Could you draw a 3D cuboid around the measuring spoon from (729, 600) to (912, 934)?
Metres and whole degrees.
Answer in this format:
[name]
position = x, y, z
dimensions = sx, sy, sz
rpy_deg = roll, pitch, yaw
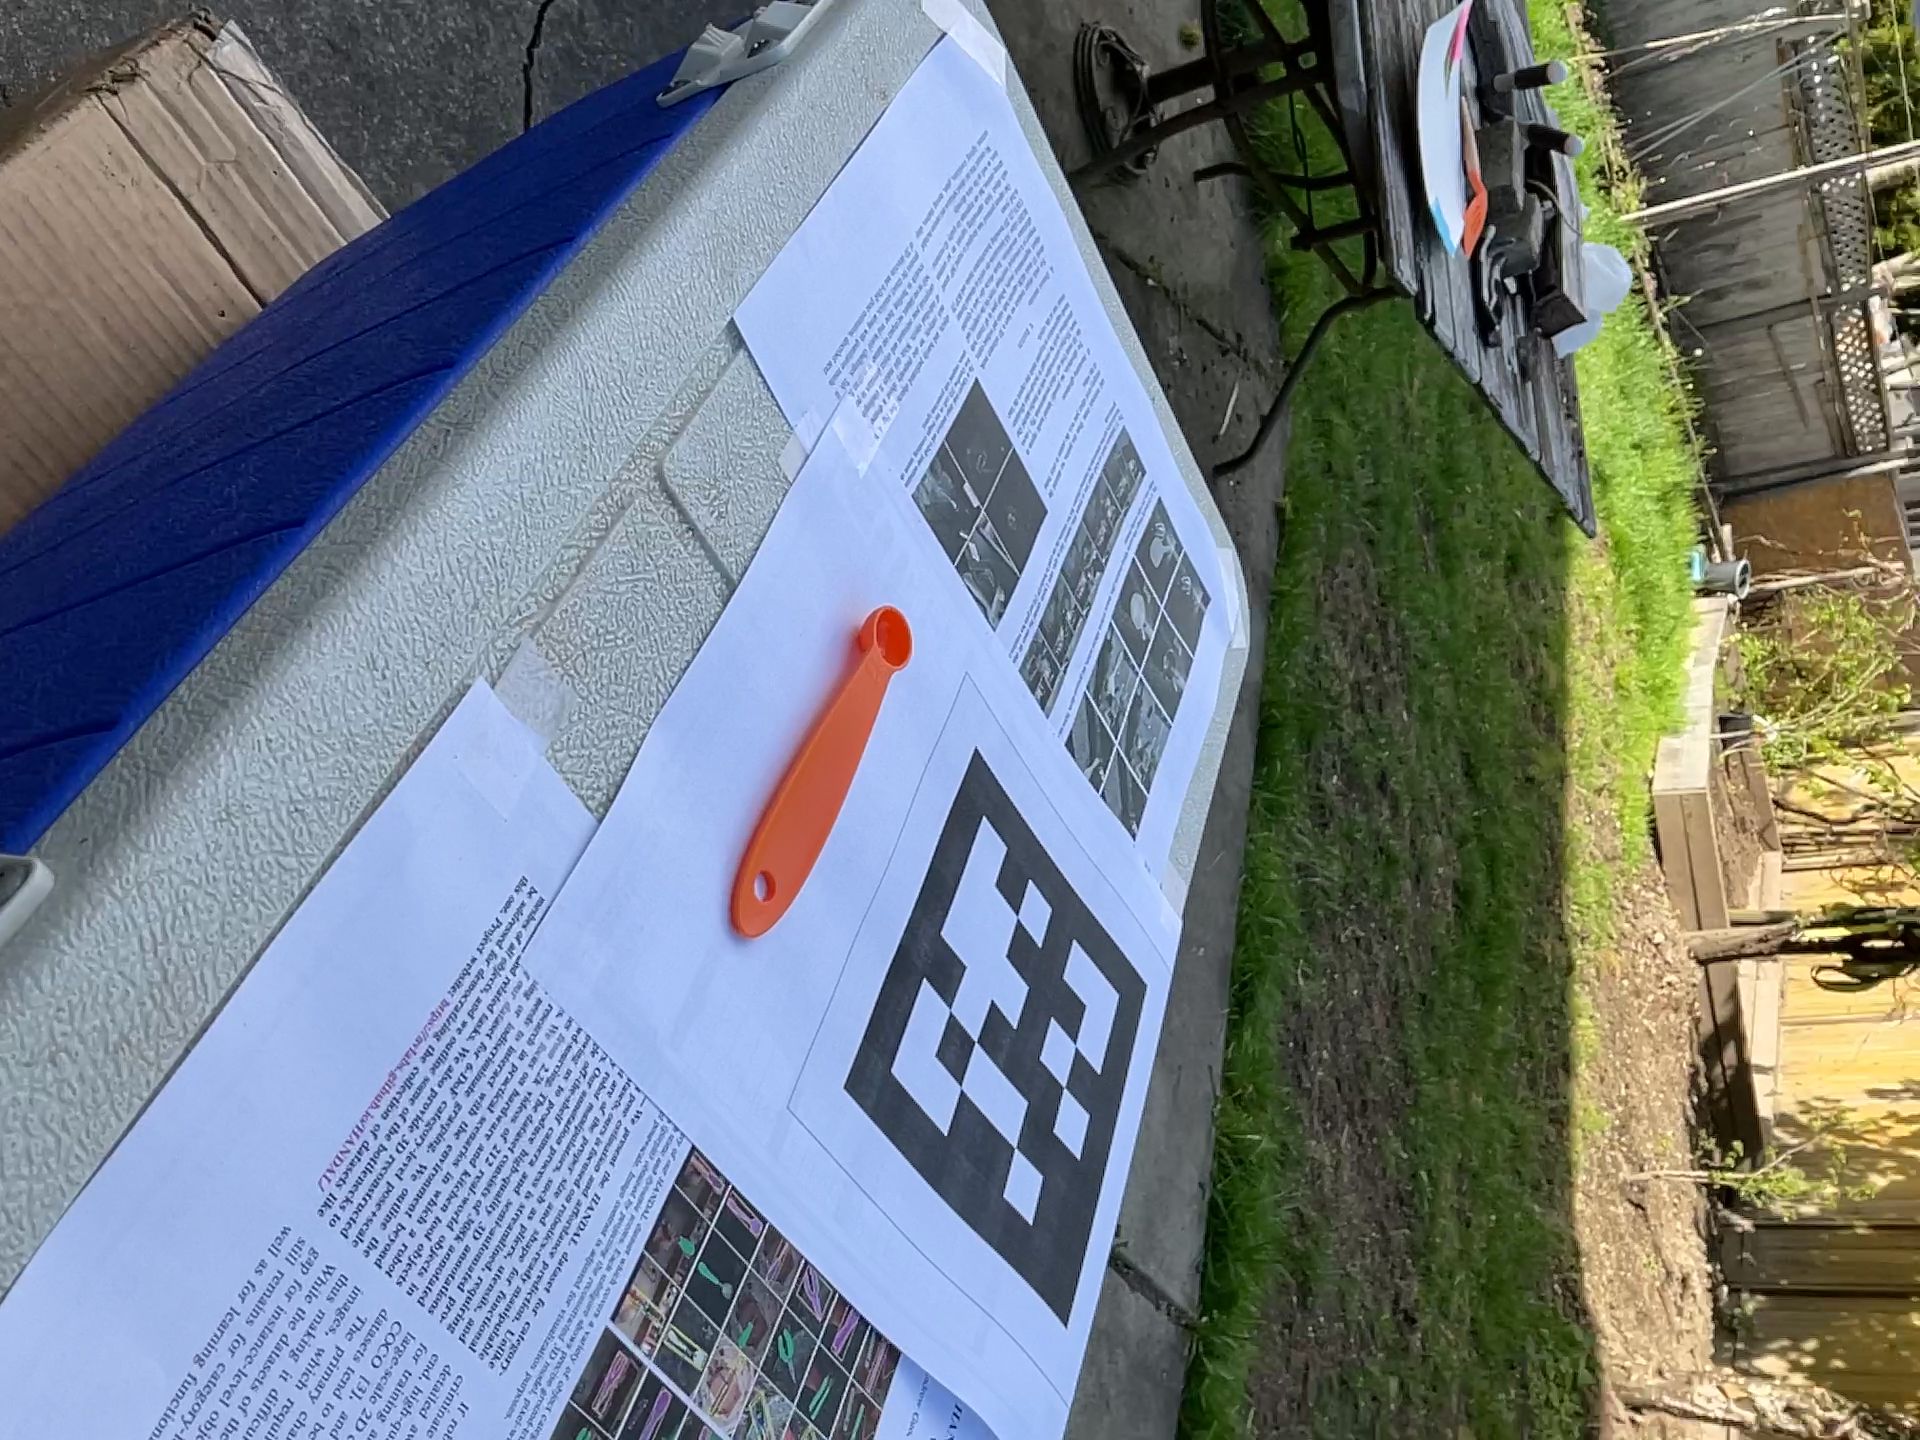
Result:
[measuring spoon]
position = -0.039, 0.010, 0.436
dimensions = 0.021, 0.011, 0.117
rpy_deg = 56, 42, -34
